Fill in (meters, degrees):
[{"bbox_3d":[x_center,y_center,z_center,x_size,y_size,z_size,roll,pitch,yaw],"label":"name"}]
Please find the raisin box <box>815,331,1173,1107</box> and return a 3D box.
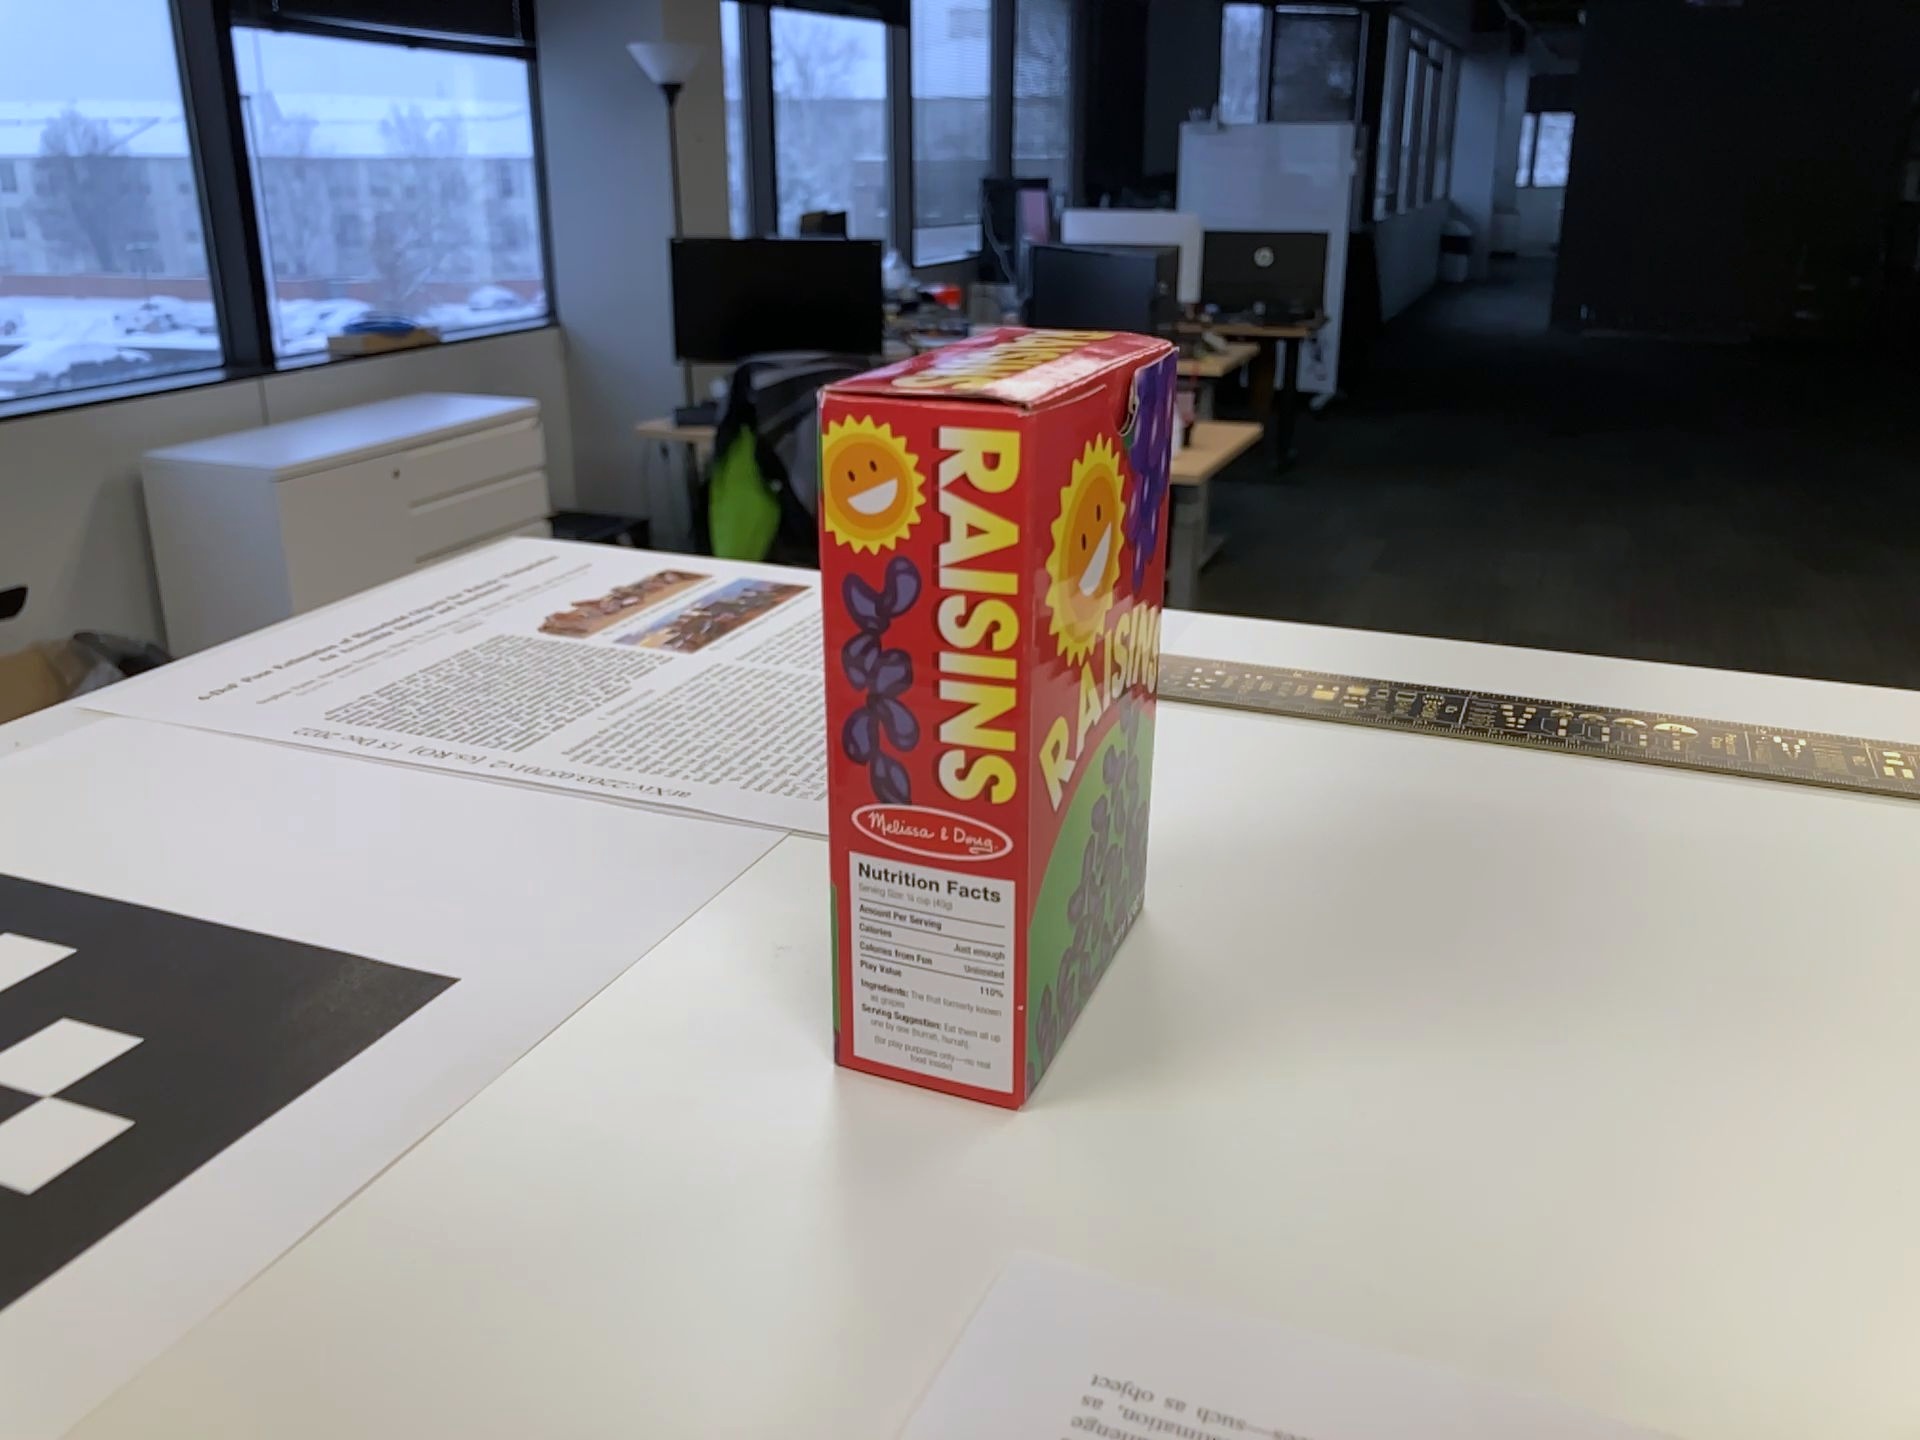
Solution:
[{"bbox_3d":[0.009,-0.006,0.296,0.040,0.123,0.086,8,21,21],"label":"raisin box"}]
